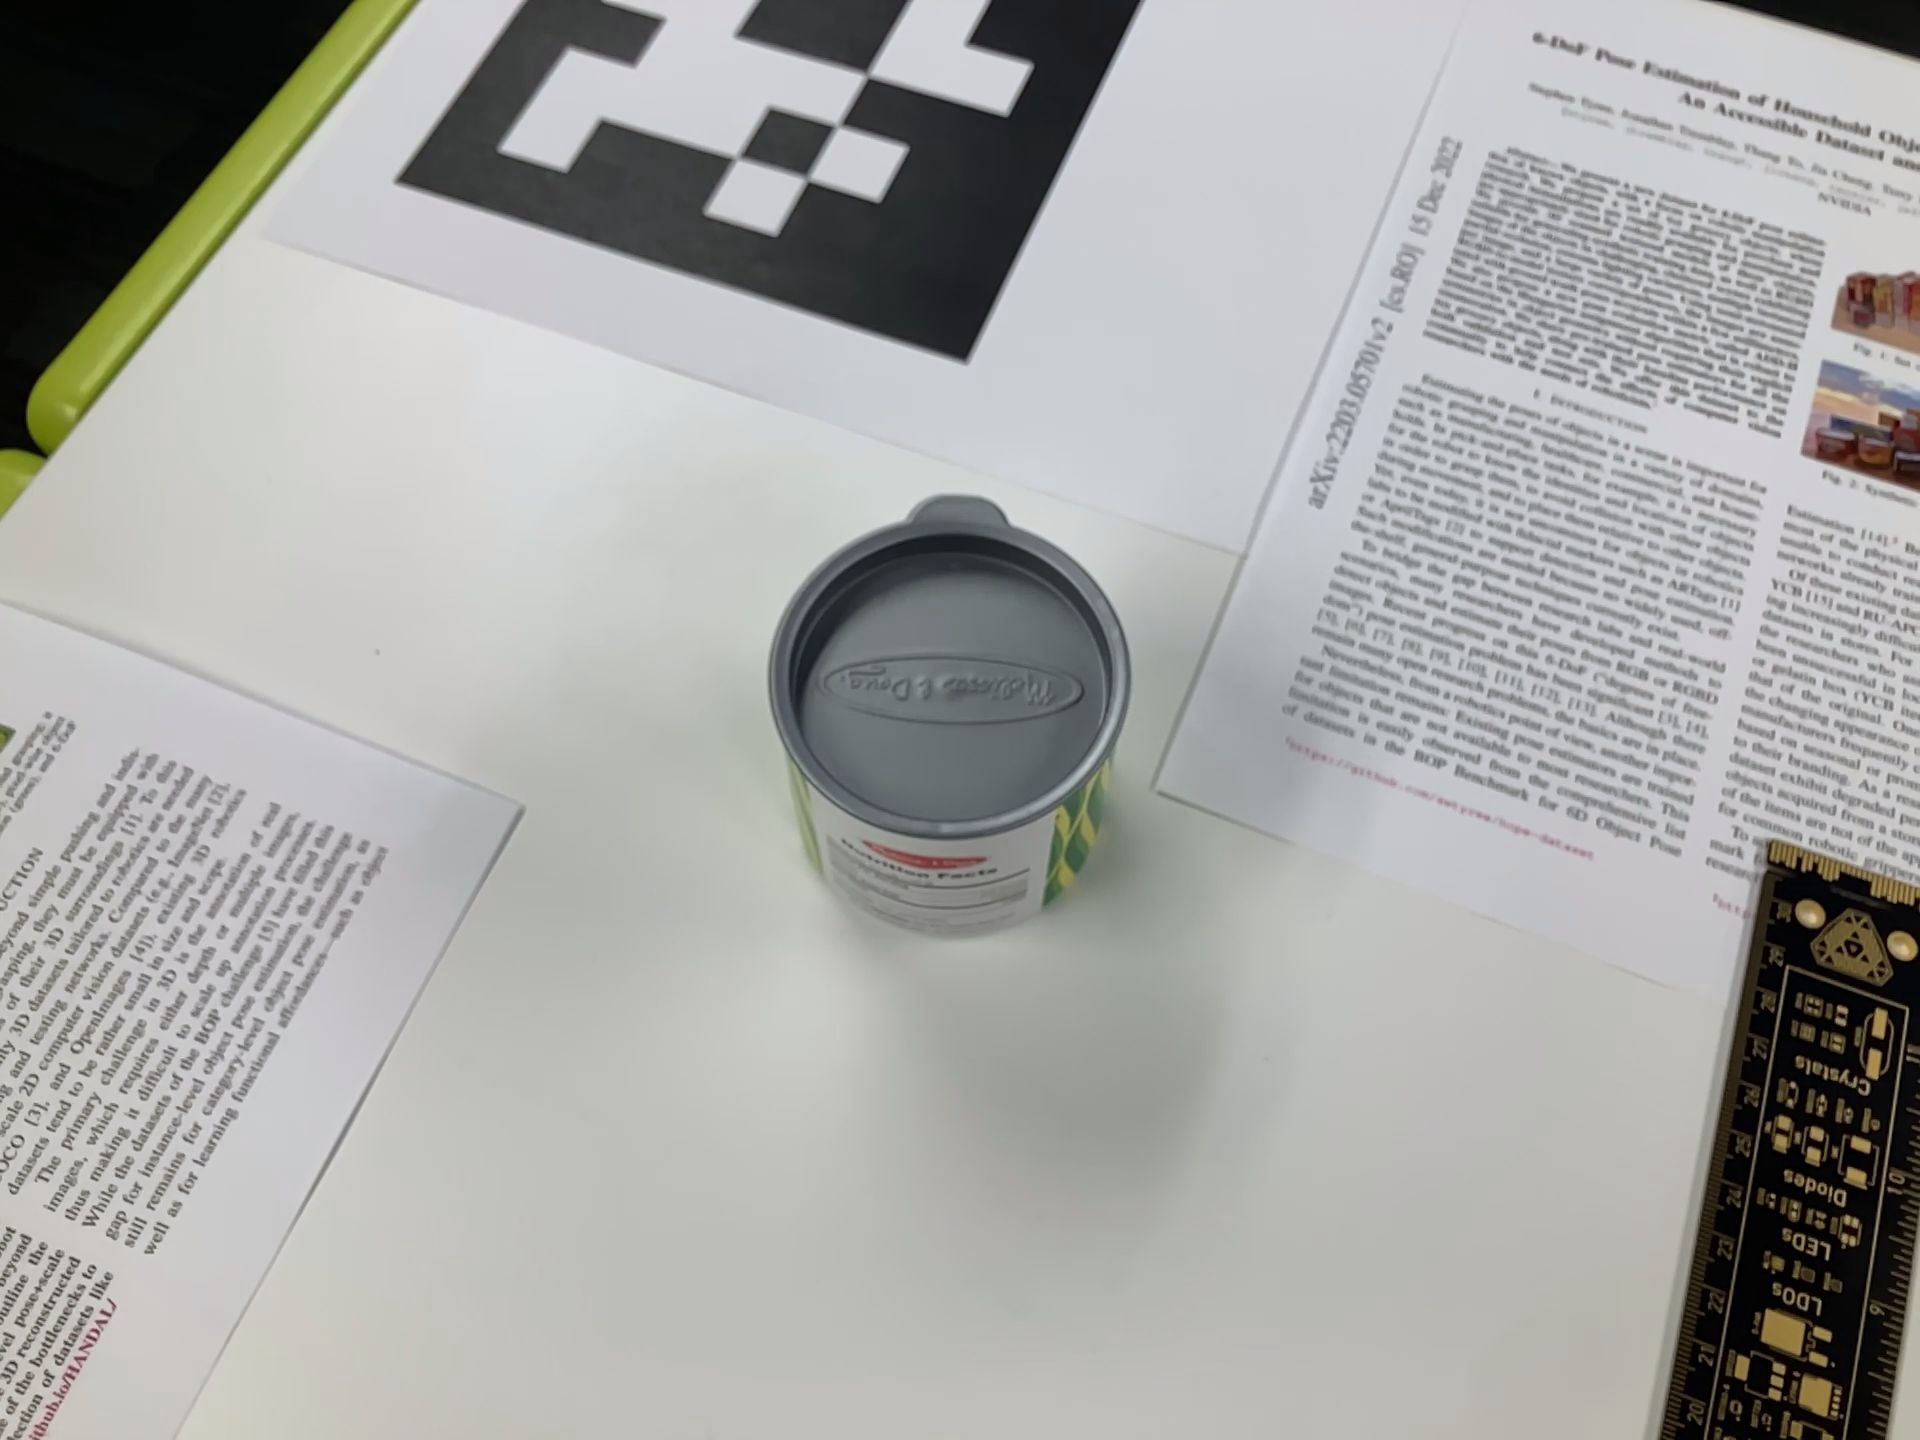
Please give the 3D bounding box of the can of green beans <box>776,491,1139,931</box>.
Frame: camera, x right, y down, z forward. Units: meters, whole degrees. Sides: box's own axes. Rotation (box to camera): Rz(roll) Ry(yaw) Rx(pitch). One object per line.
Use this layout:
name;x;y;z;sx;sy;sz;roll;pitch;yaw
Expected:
can of green beans;-0.001;0.002;0.317;0.071;0.058;0.071;0;64;-1
